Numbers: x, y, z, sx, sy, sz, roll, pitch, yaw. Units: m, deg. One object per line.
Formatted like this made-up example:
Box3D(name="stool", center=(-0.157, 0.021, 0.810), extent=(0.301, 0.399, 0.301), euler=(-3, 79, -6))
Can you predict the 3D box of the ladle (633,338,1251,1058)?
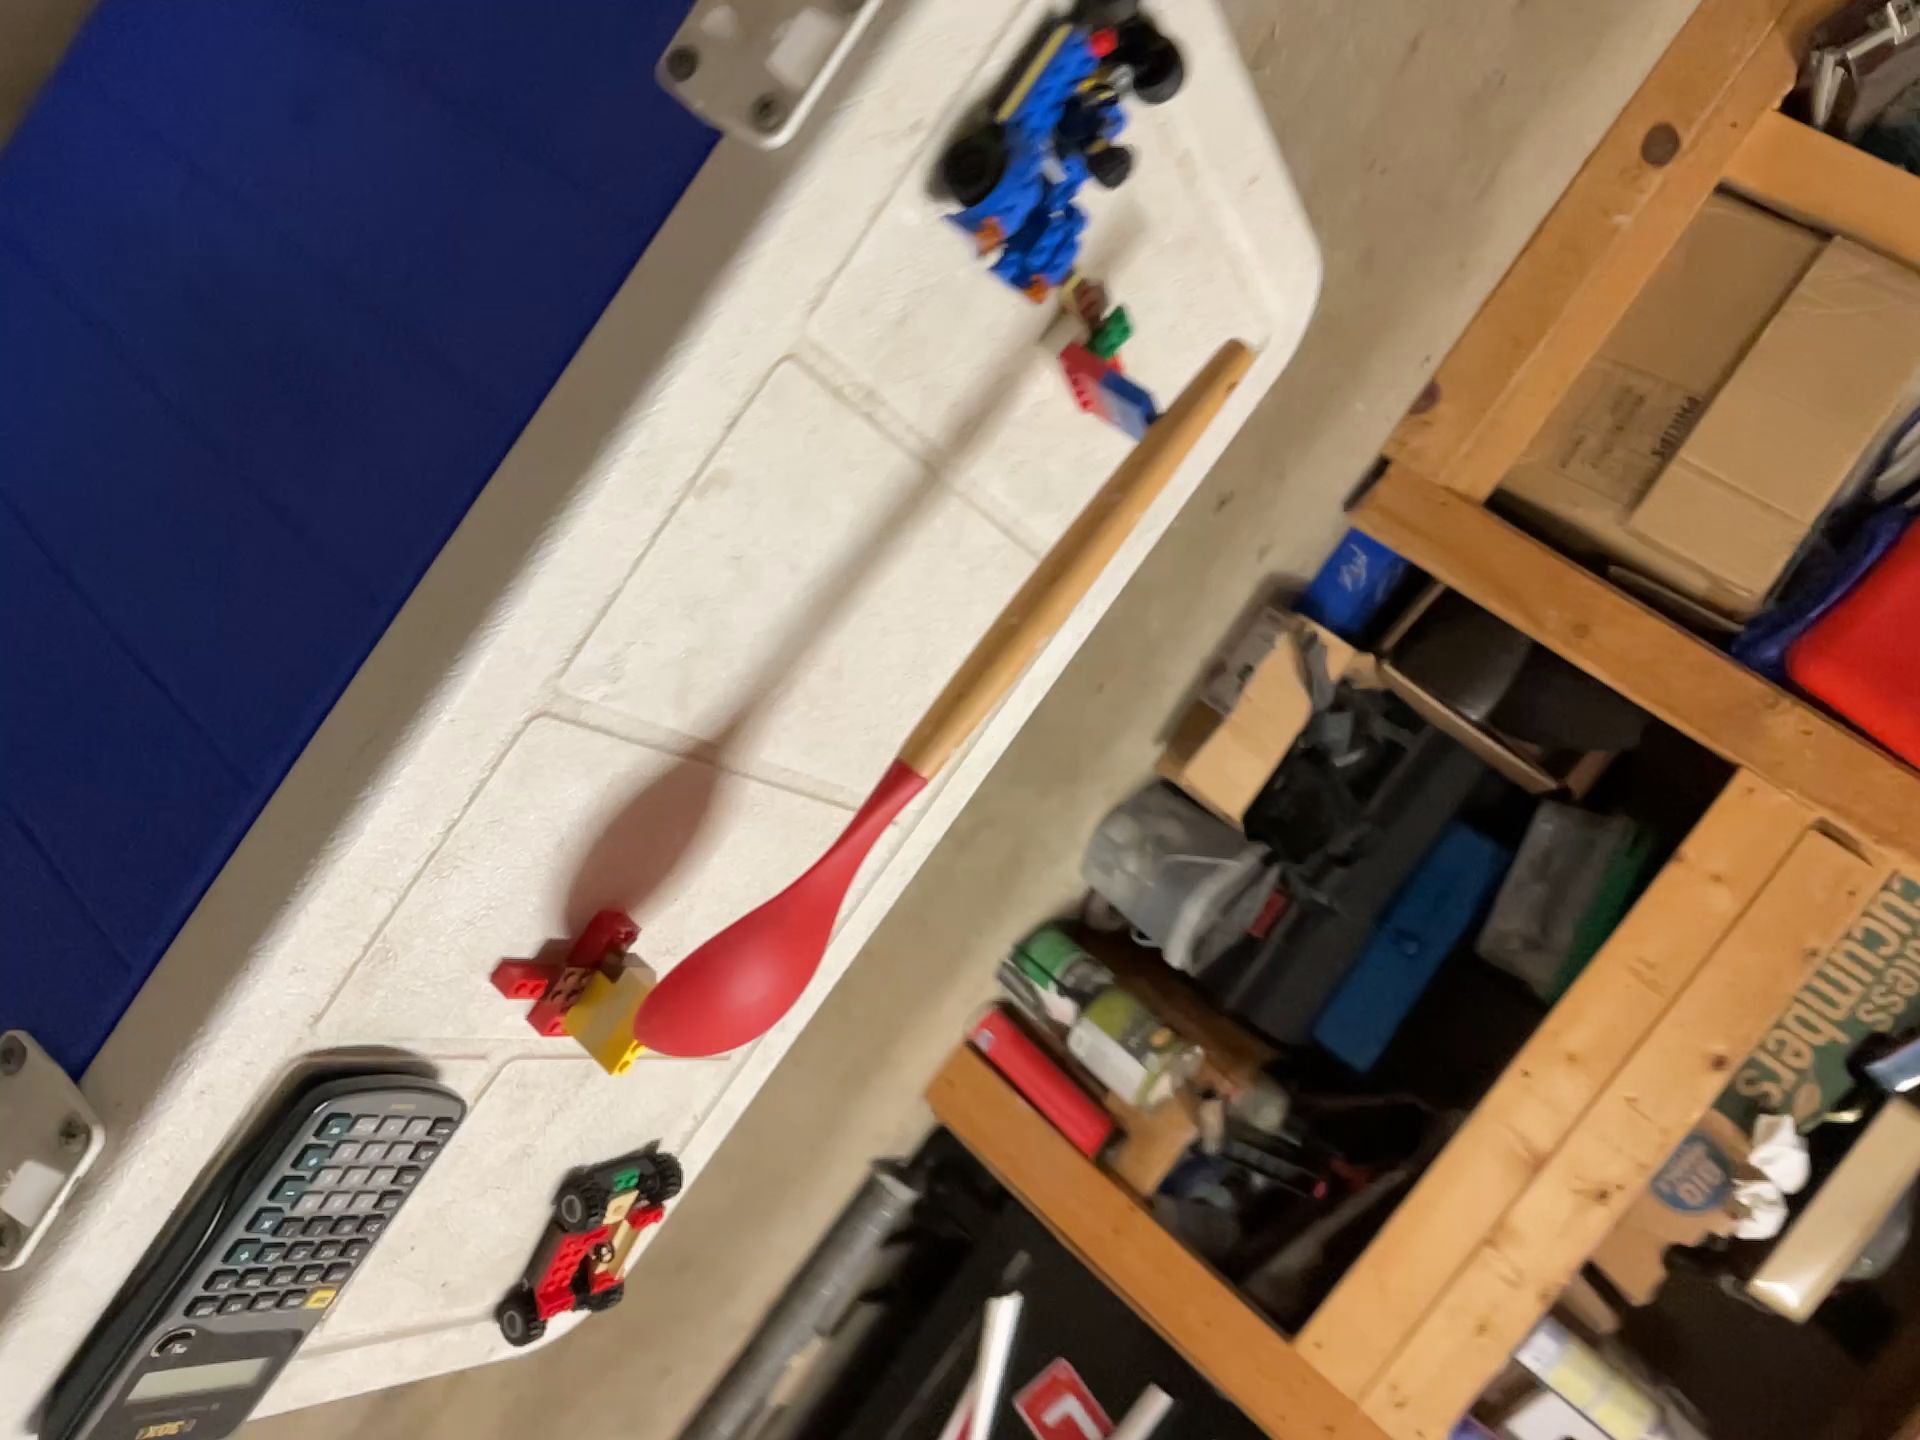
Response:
Box3D(name="ladle", center=(-0.001, -0.004, 0.547), extent=(0.315, 0.031, 0.069), euler=(-52, 154, -1))
